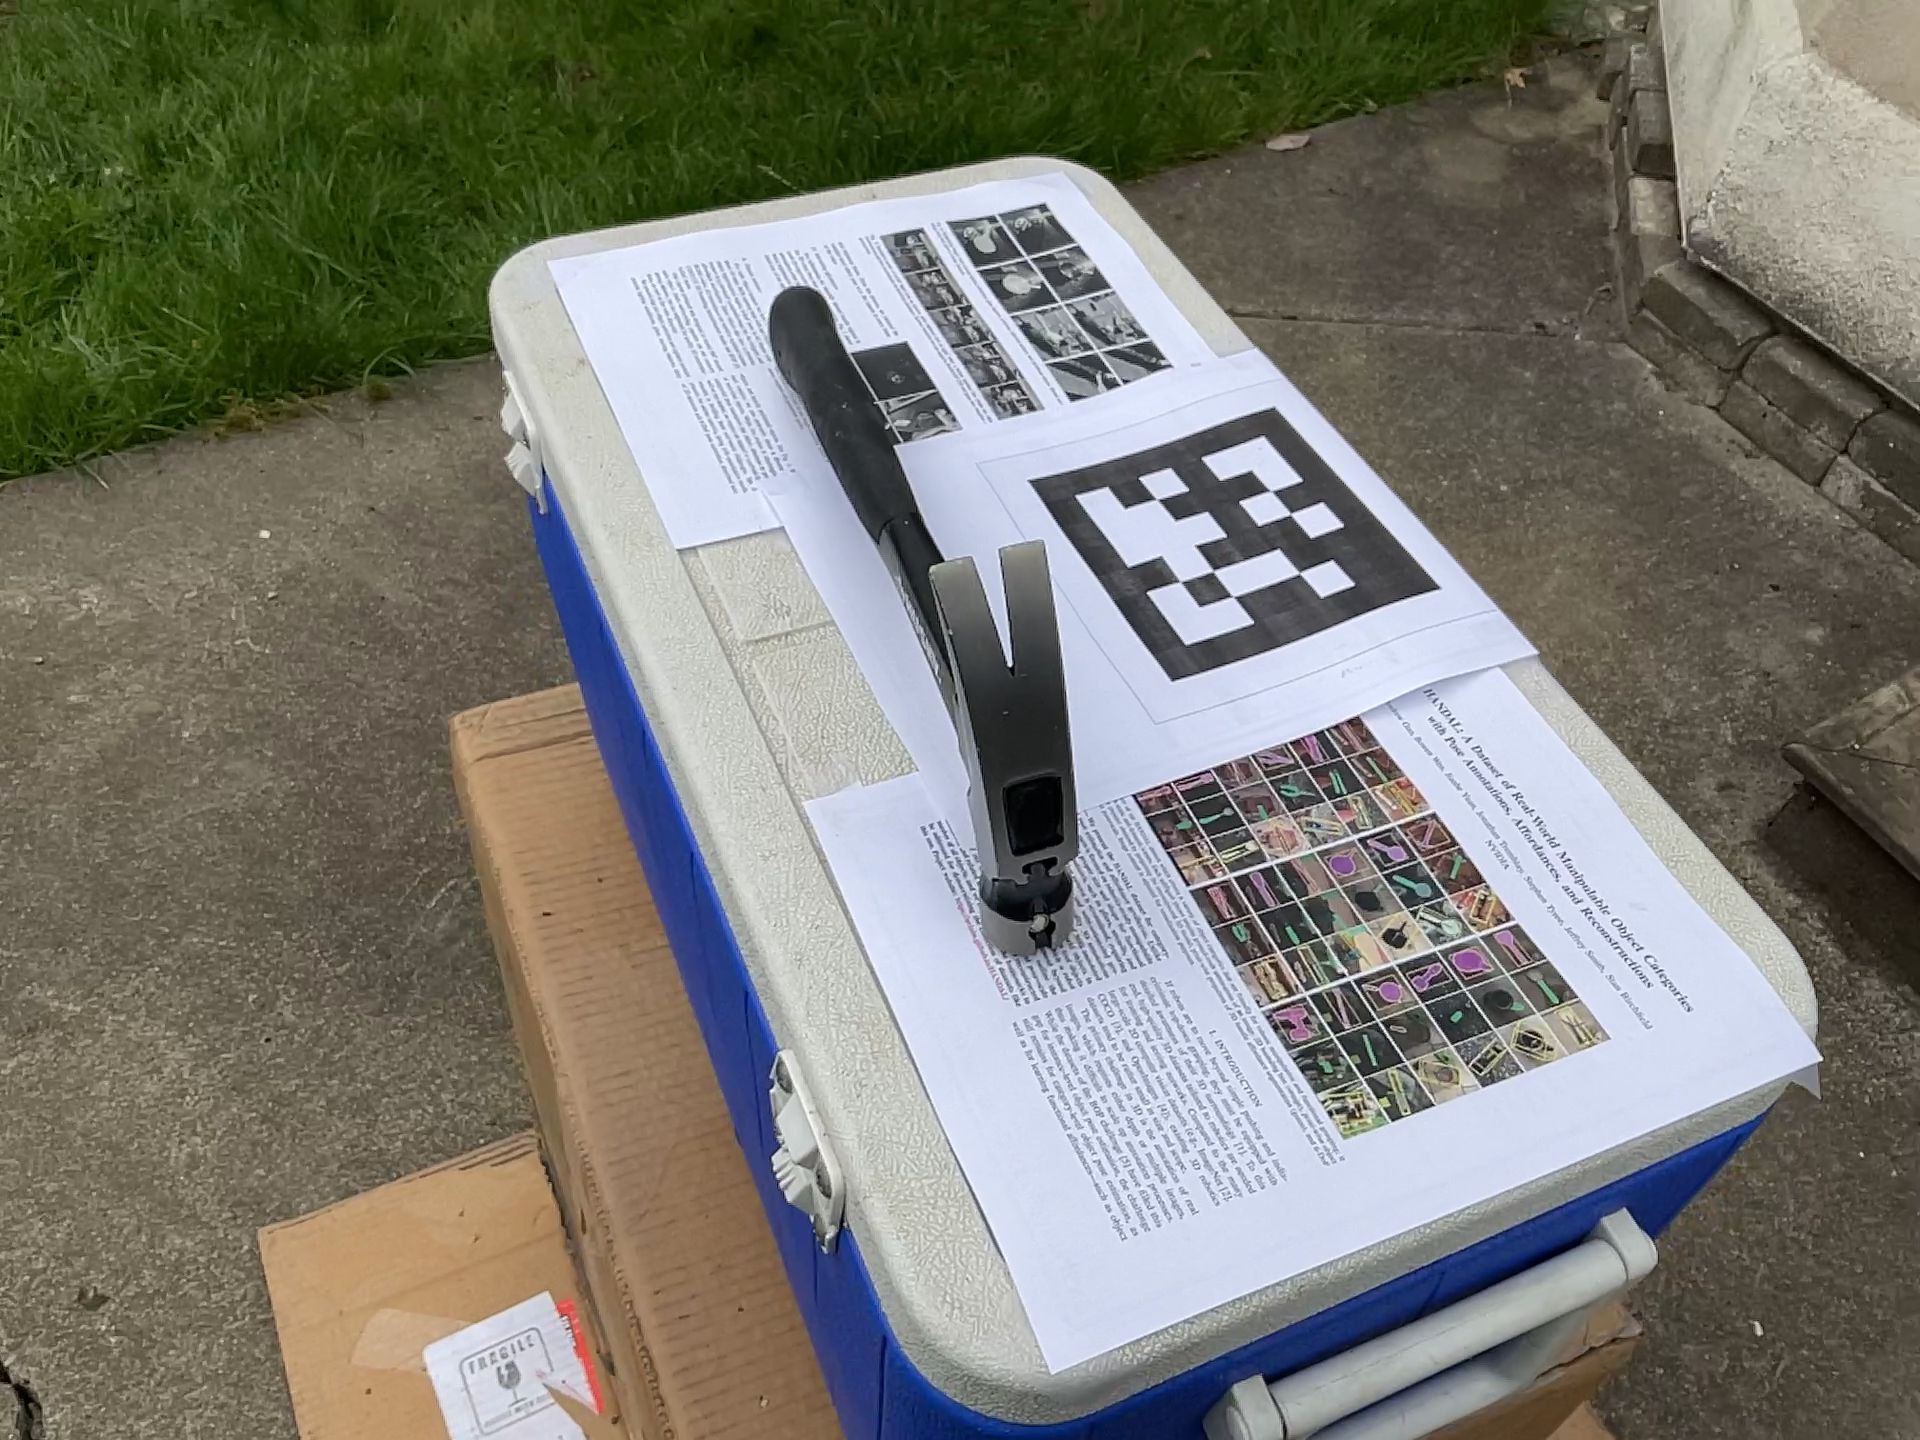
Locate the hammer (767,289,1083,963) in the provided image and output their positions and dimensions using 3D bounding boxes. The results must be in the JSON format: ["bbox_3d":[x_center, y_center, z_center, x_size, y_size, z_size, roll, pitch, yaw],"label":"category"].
[{"bbox_3d":[-0.025,-0.078,0.598,0.035,0.146,0.335,-14,43,-10],"label":"hammer"}]
